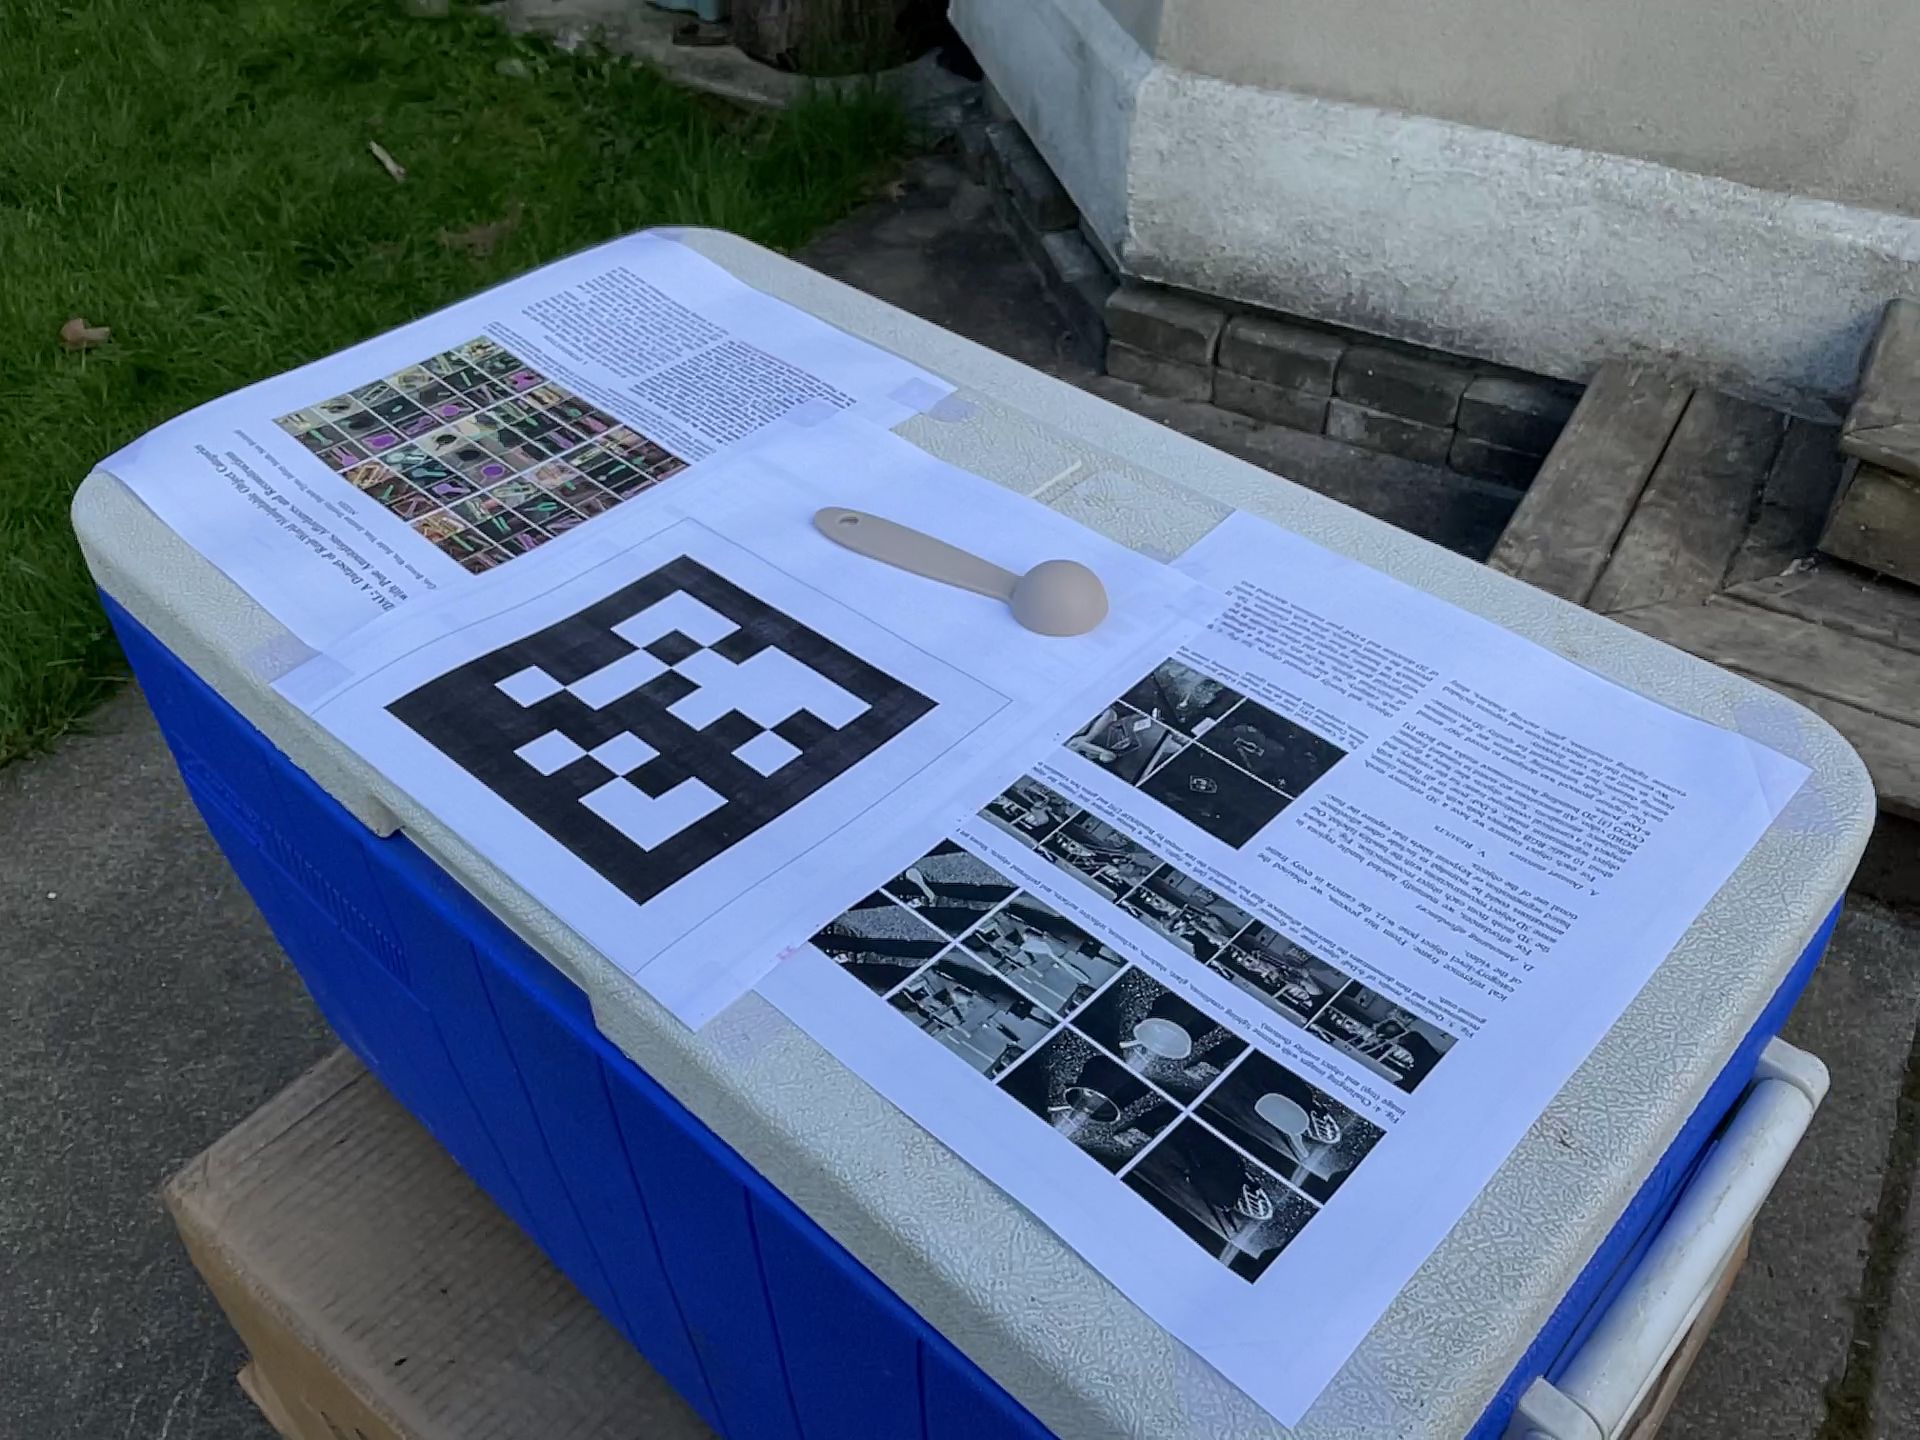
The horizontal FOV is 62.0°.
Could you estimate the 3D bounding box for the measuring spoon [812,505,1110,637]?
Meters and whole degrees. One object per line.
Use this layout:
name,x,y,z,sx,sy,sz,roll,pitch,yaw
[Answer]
measuring spoon,-0.003,-0.061,0.573,0.124,0.018,0.034,22,47,24
